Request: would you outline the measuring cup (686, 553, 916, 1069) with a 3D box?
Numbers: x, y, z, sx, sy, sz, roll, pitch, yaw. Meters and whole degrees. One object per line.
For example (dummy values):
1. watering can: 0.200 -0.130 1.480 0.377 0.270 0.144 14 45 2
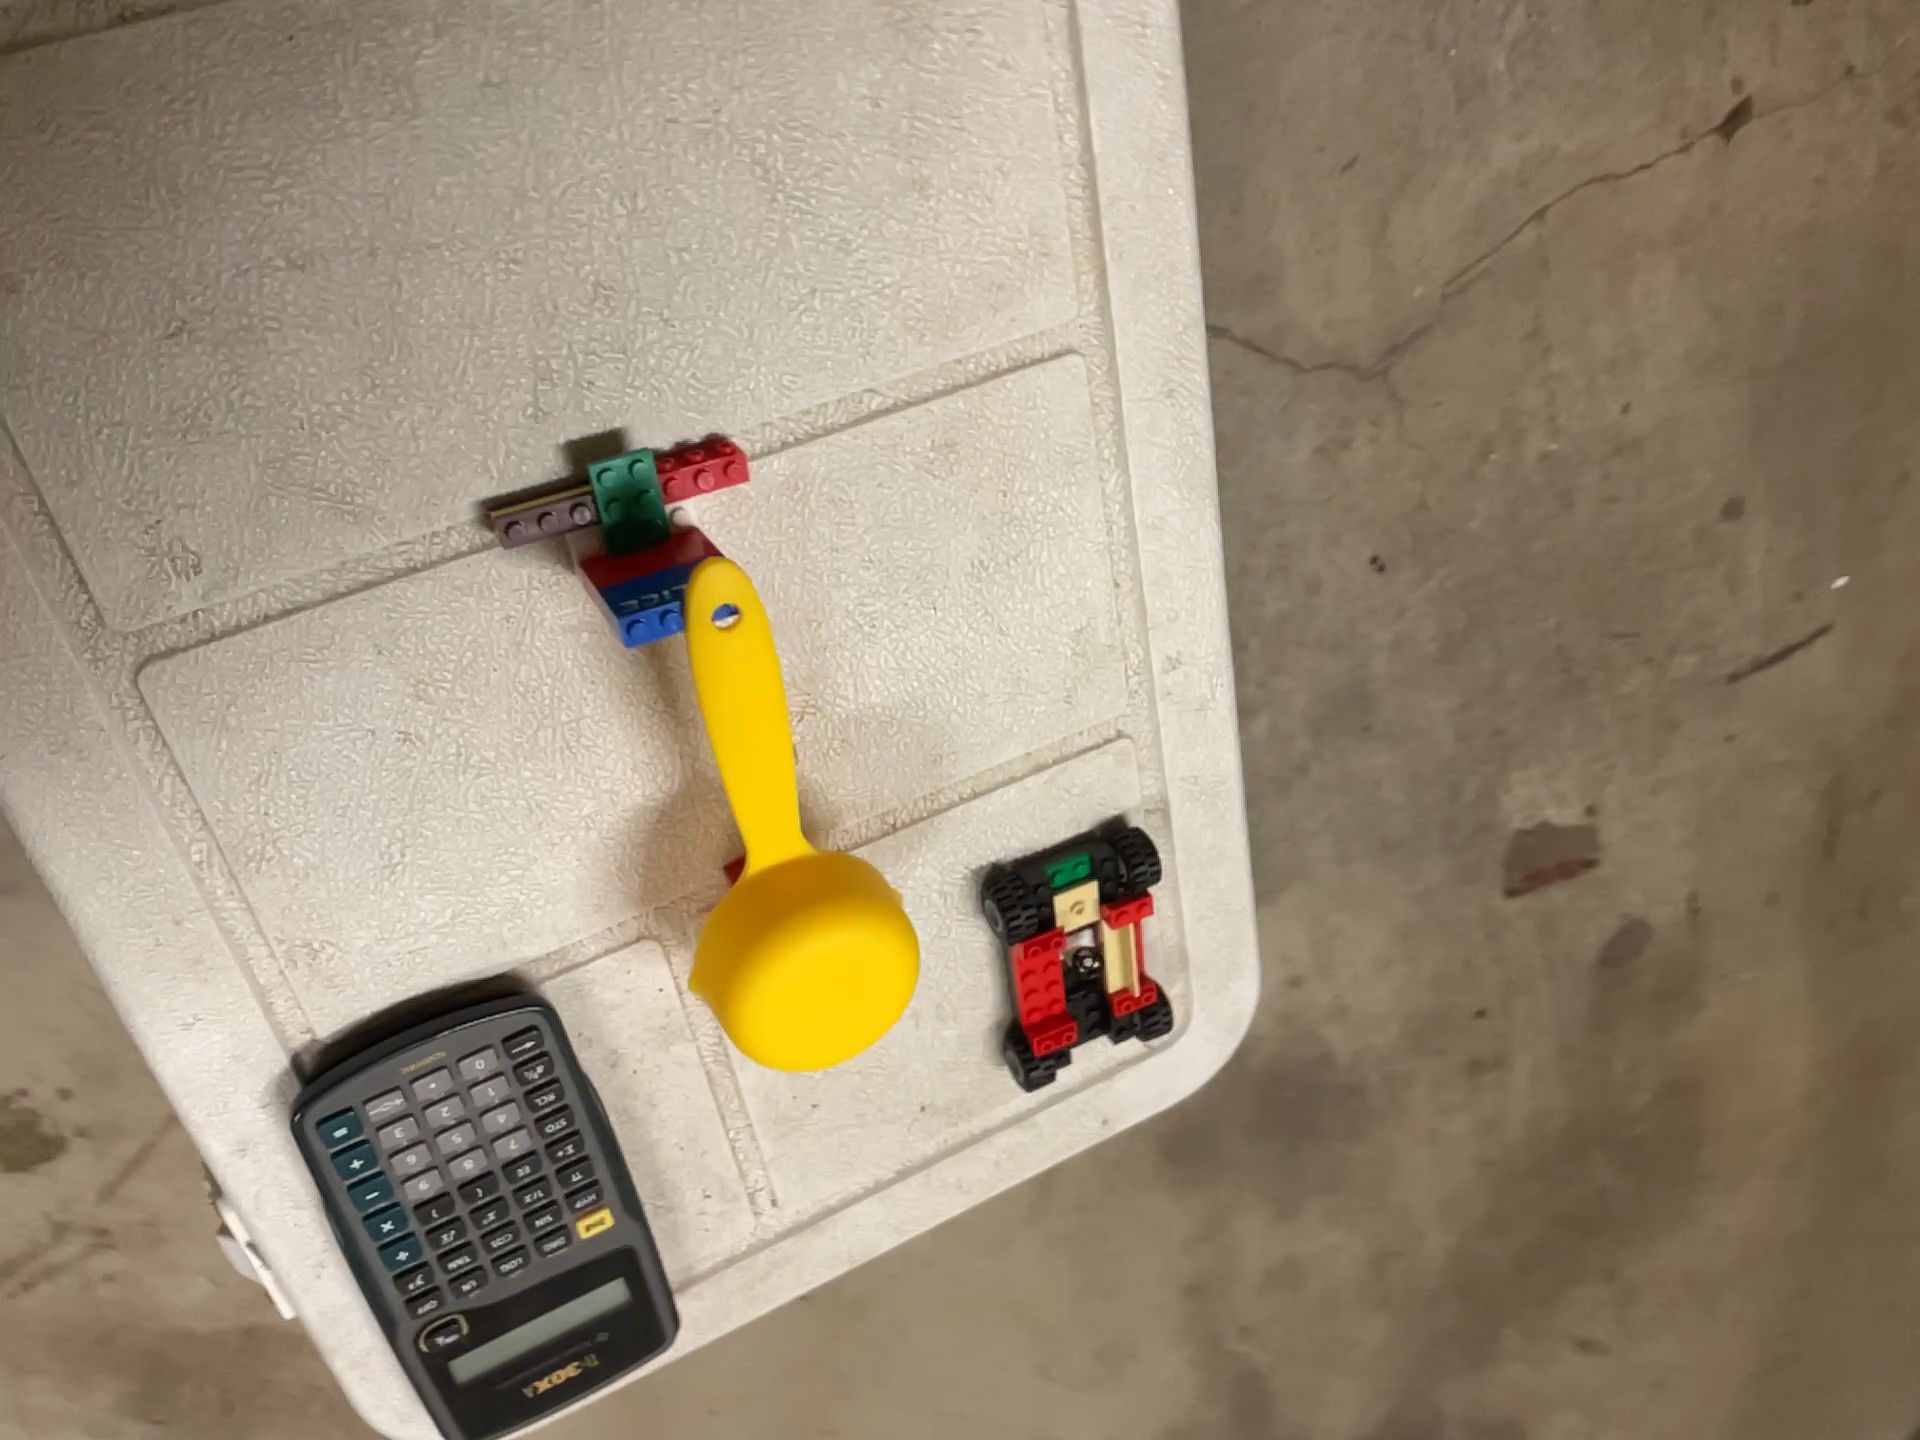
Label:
1. measuring cup: -0.044 0.030 0.409 0.062 0.029 0.156 -21 129 -17
